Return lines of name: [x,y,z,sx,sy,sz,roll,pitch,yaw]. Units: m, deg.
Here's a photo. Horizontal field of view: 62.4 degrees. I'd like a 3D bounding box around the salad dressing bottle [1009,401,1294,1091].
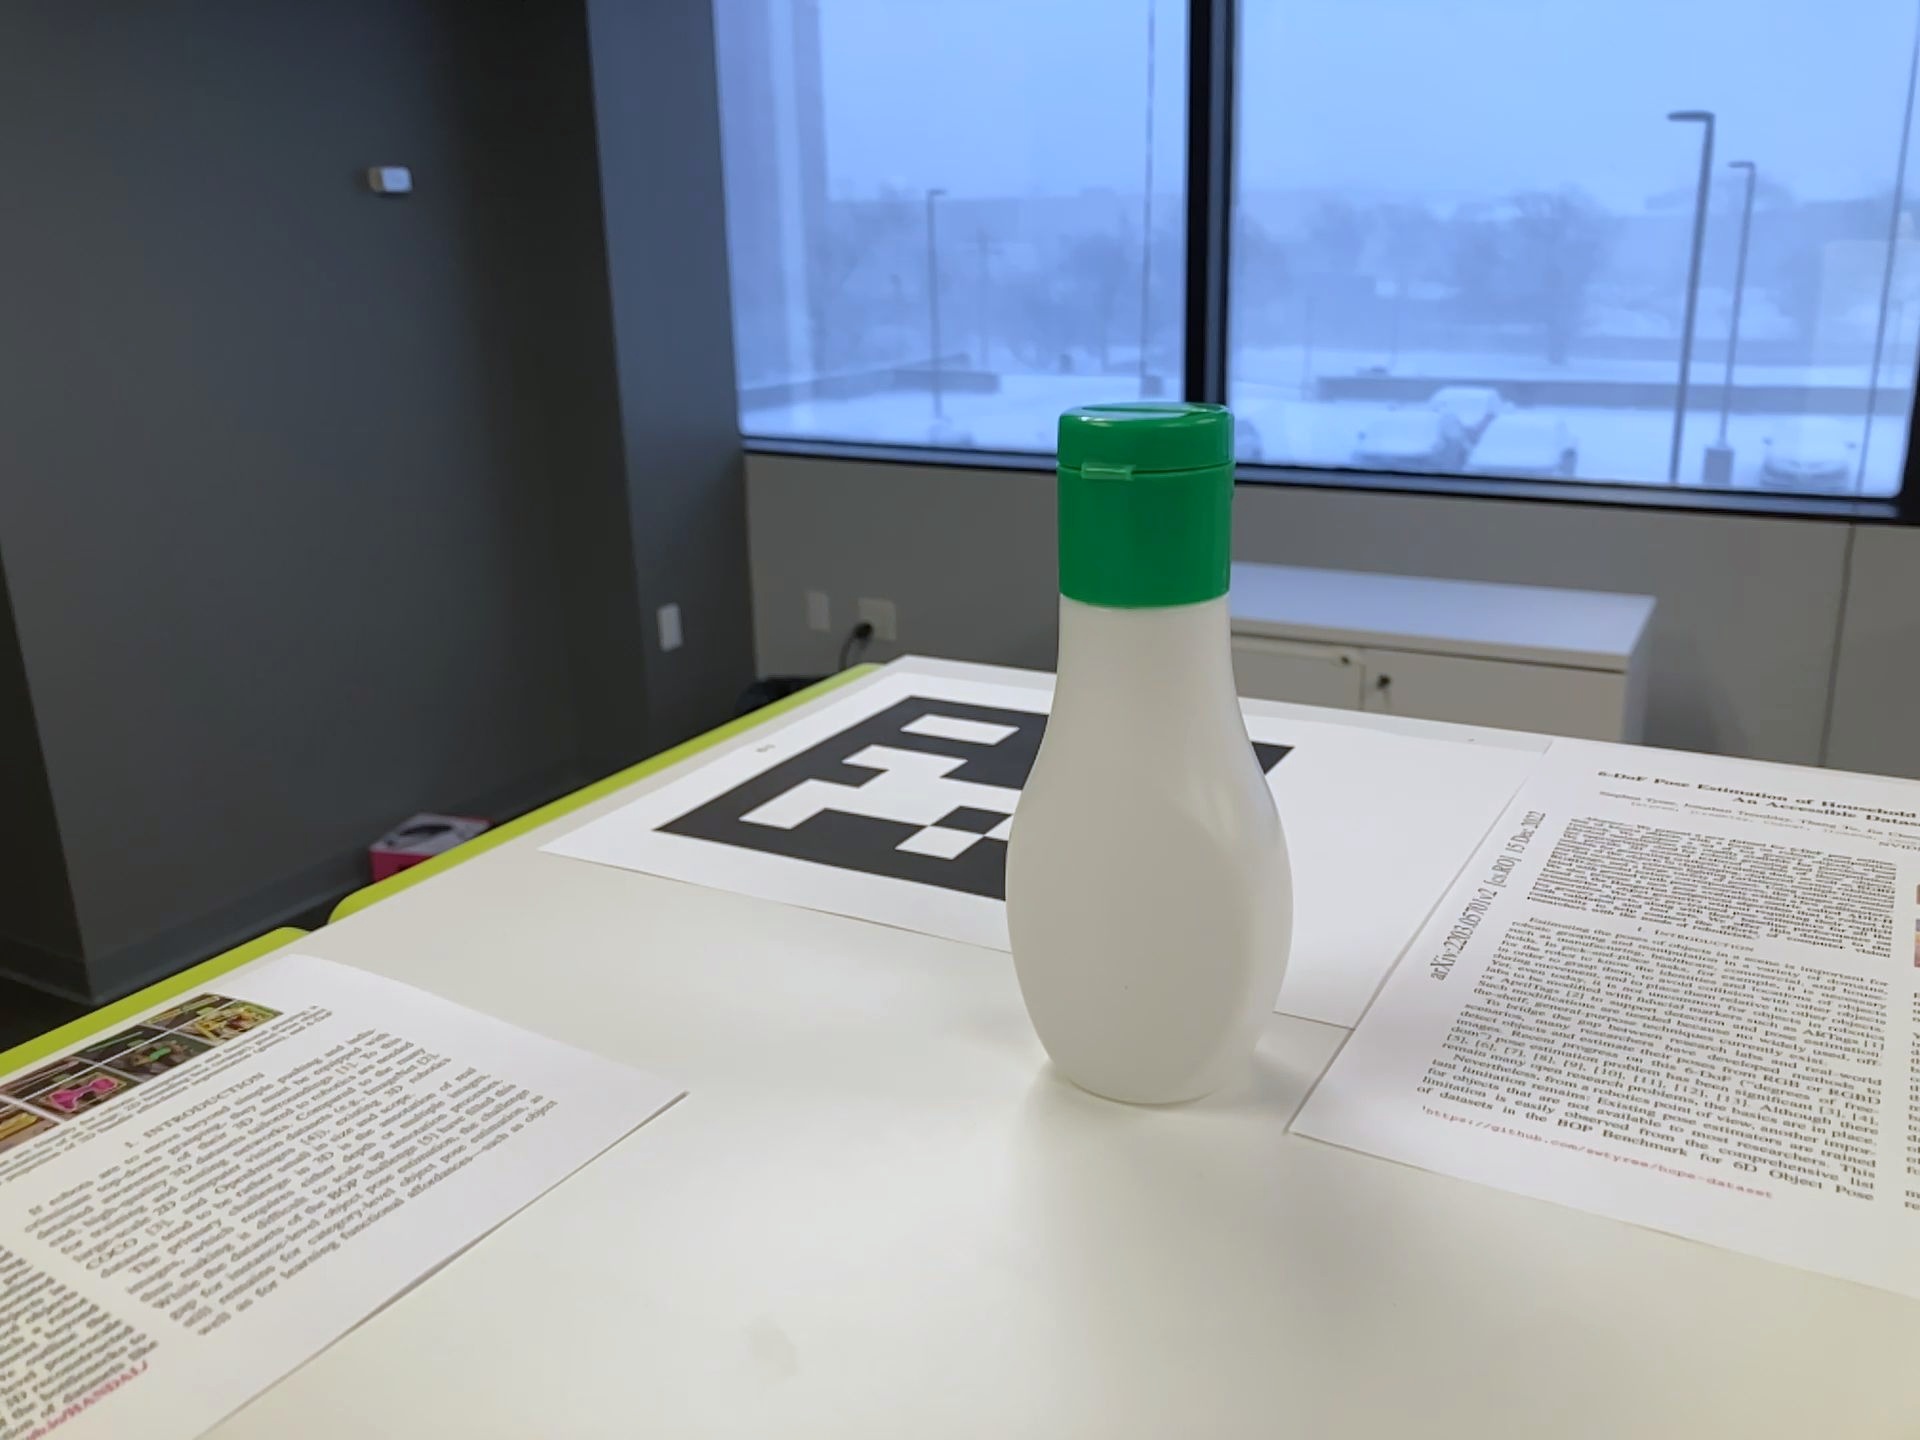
salad dressing bottle: [0.042,0.006,0.348,0.064,0.147,0.044,8,20,29]
